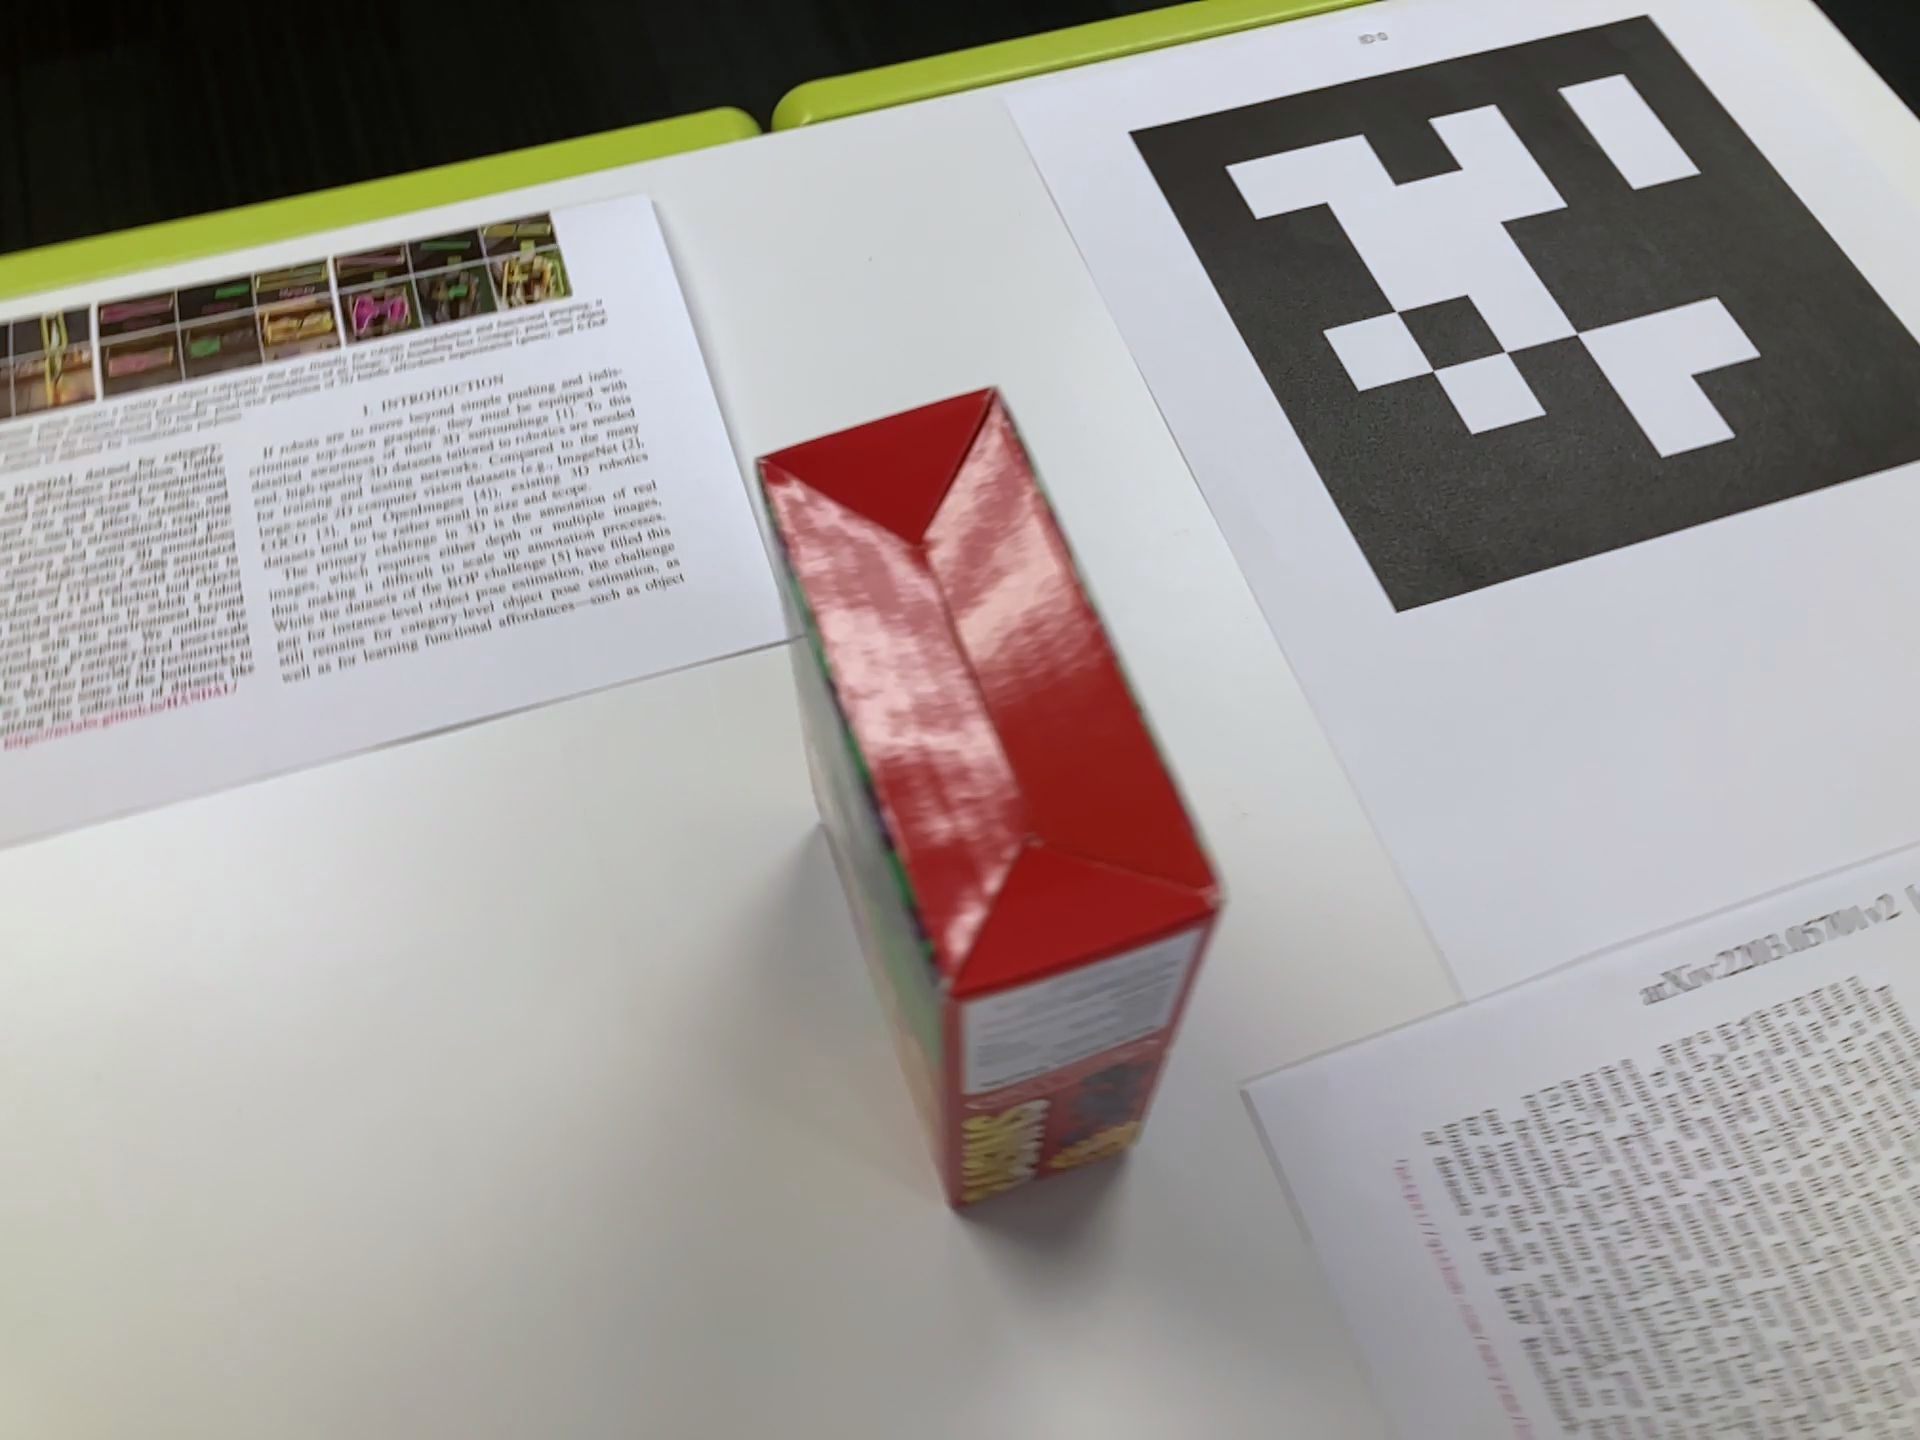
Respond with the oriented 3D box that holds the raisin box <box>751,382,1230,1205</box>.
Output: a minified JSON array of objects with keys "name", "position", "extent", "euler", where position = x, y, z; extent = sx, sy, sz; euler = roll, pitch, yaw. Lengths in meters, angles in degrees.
[{"name":"raisin box","position":[0.002,0.020,0.257],"extent":[0.040,0.123,0.086],"euler":[-18,63,-9]}]
